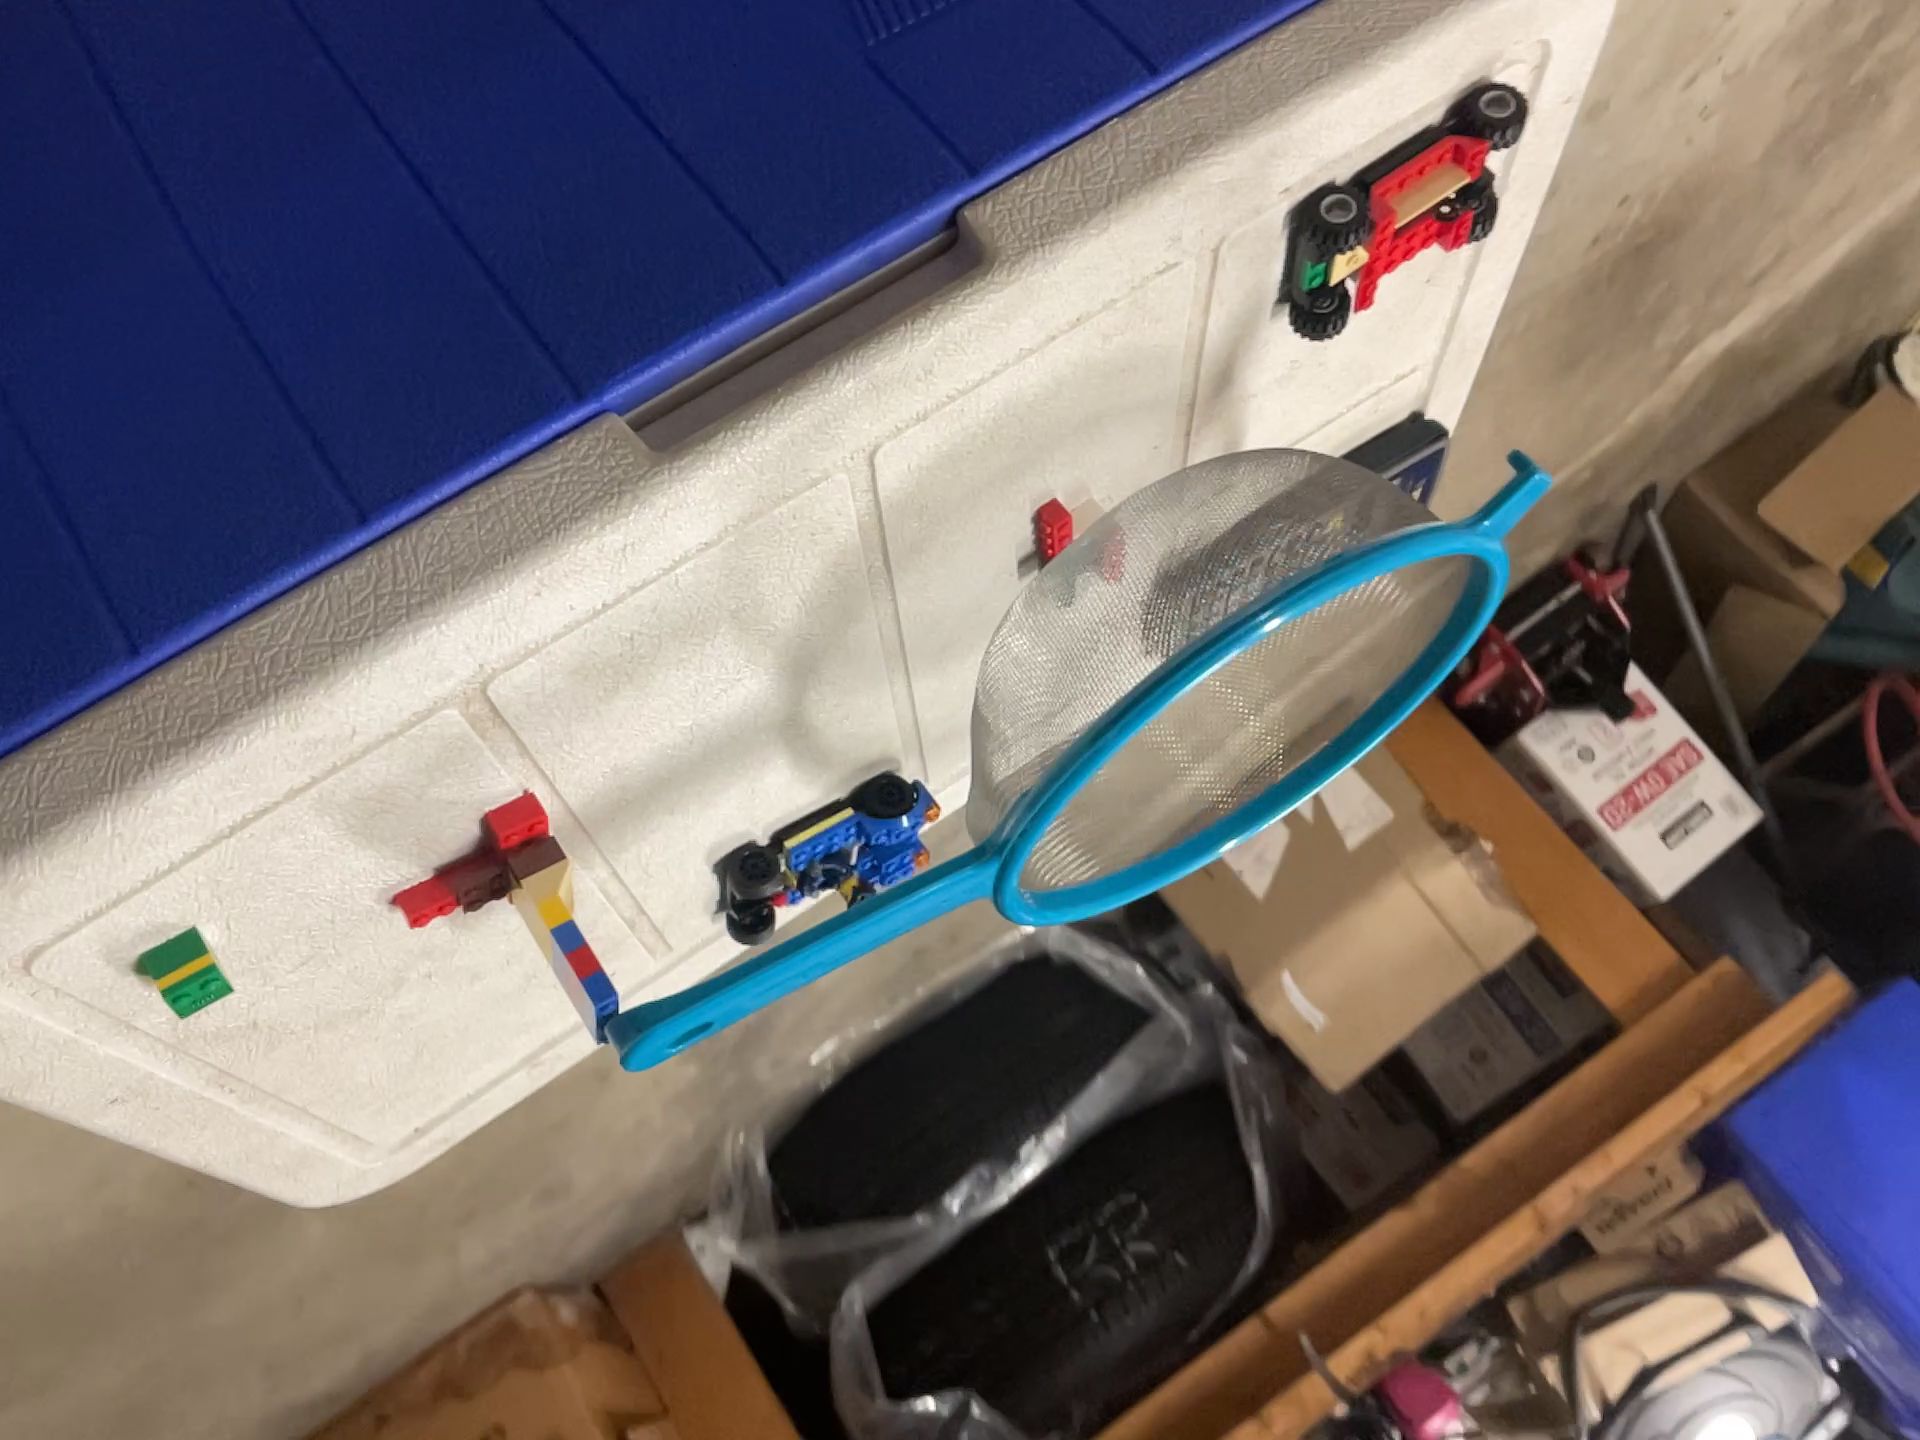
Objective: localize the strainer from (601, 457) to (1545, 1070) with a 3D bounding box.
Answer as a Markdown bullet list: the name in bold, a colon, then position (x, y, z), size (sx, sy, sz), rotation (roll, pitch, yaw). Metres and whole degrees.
- **strainer**: position (0.023, 0.004, 0.550), size (0.340, 0.095, 0.210), rotation (-25, 156, -17)
